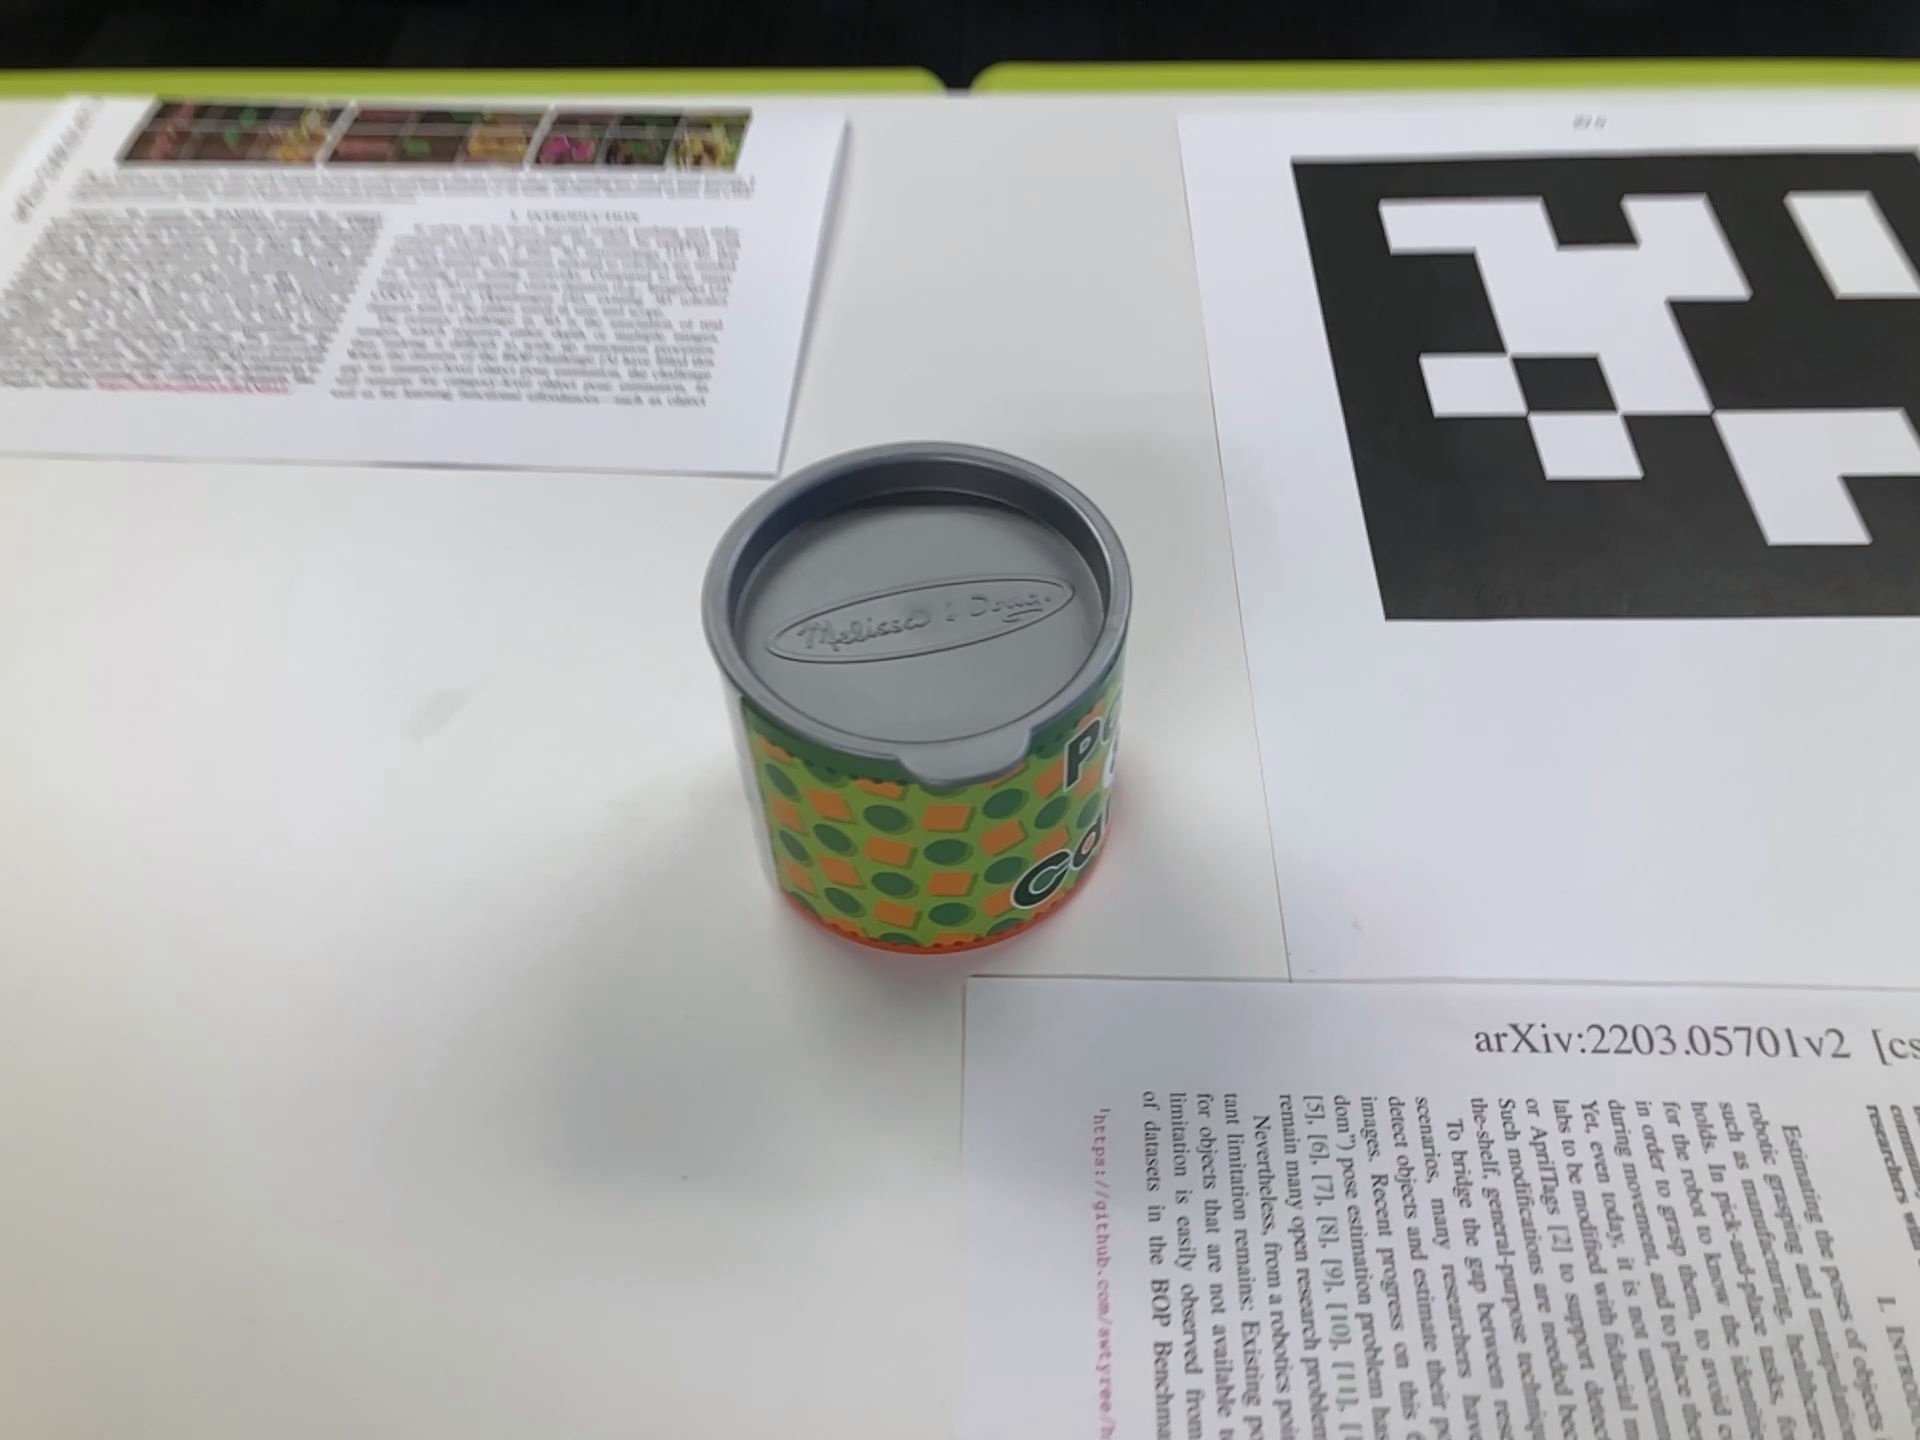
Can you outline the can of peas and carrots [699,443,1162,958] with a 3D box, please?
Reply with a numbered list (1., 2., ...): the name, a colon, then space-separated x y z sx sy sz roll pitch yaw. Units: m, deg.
1. can of peas and carrots: -0.004 -0.002 0.264 0.071 0.059 0.071 -1 51 1
